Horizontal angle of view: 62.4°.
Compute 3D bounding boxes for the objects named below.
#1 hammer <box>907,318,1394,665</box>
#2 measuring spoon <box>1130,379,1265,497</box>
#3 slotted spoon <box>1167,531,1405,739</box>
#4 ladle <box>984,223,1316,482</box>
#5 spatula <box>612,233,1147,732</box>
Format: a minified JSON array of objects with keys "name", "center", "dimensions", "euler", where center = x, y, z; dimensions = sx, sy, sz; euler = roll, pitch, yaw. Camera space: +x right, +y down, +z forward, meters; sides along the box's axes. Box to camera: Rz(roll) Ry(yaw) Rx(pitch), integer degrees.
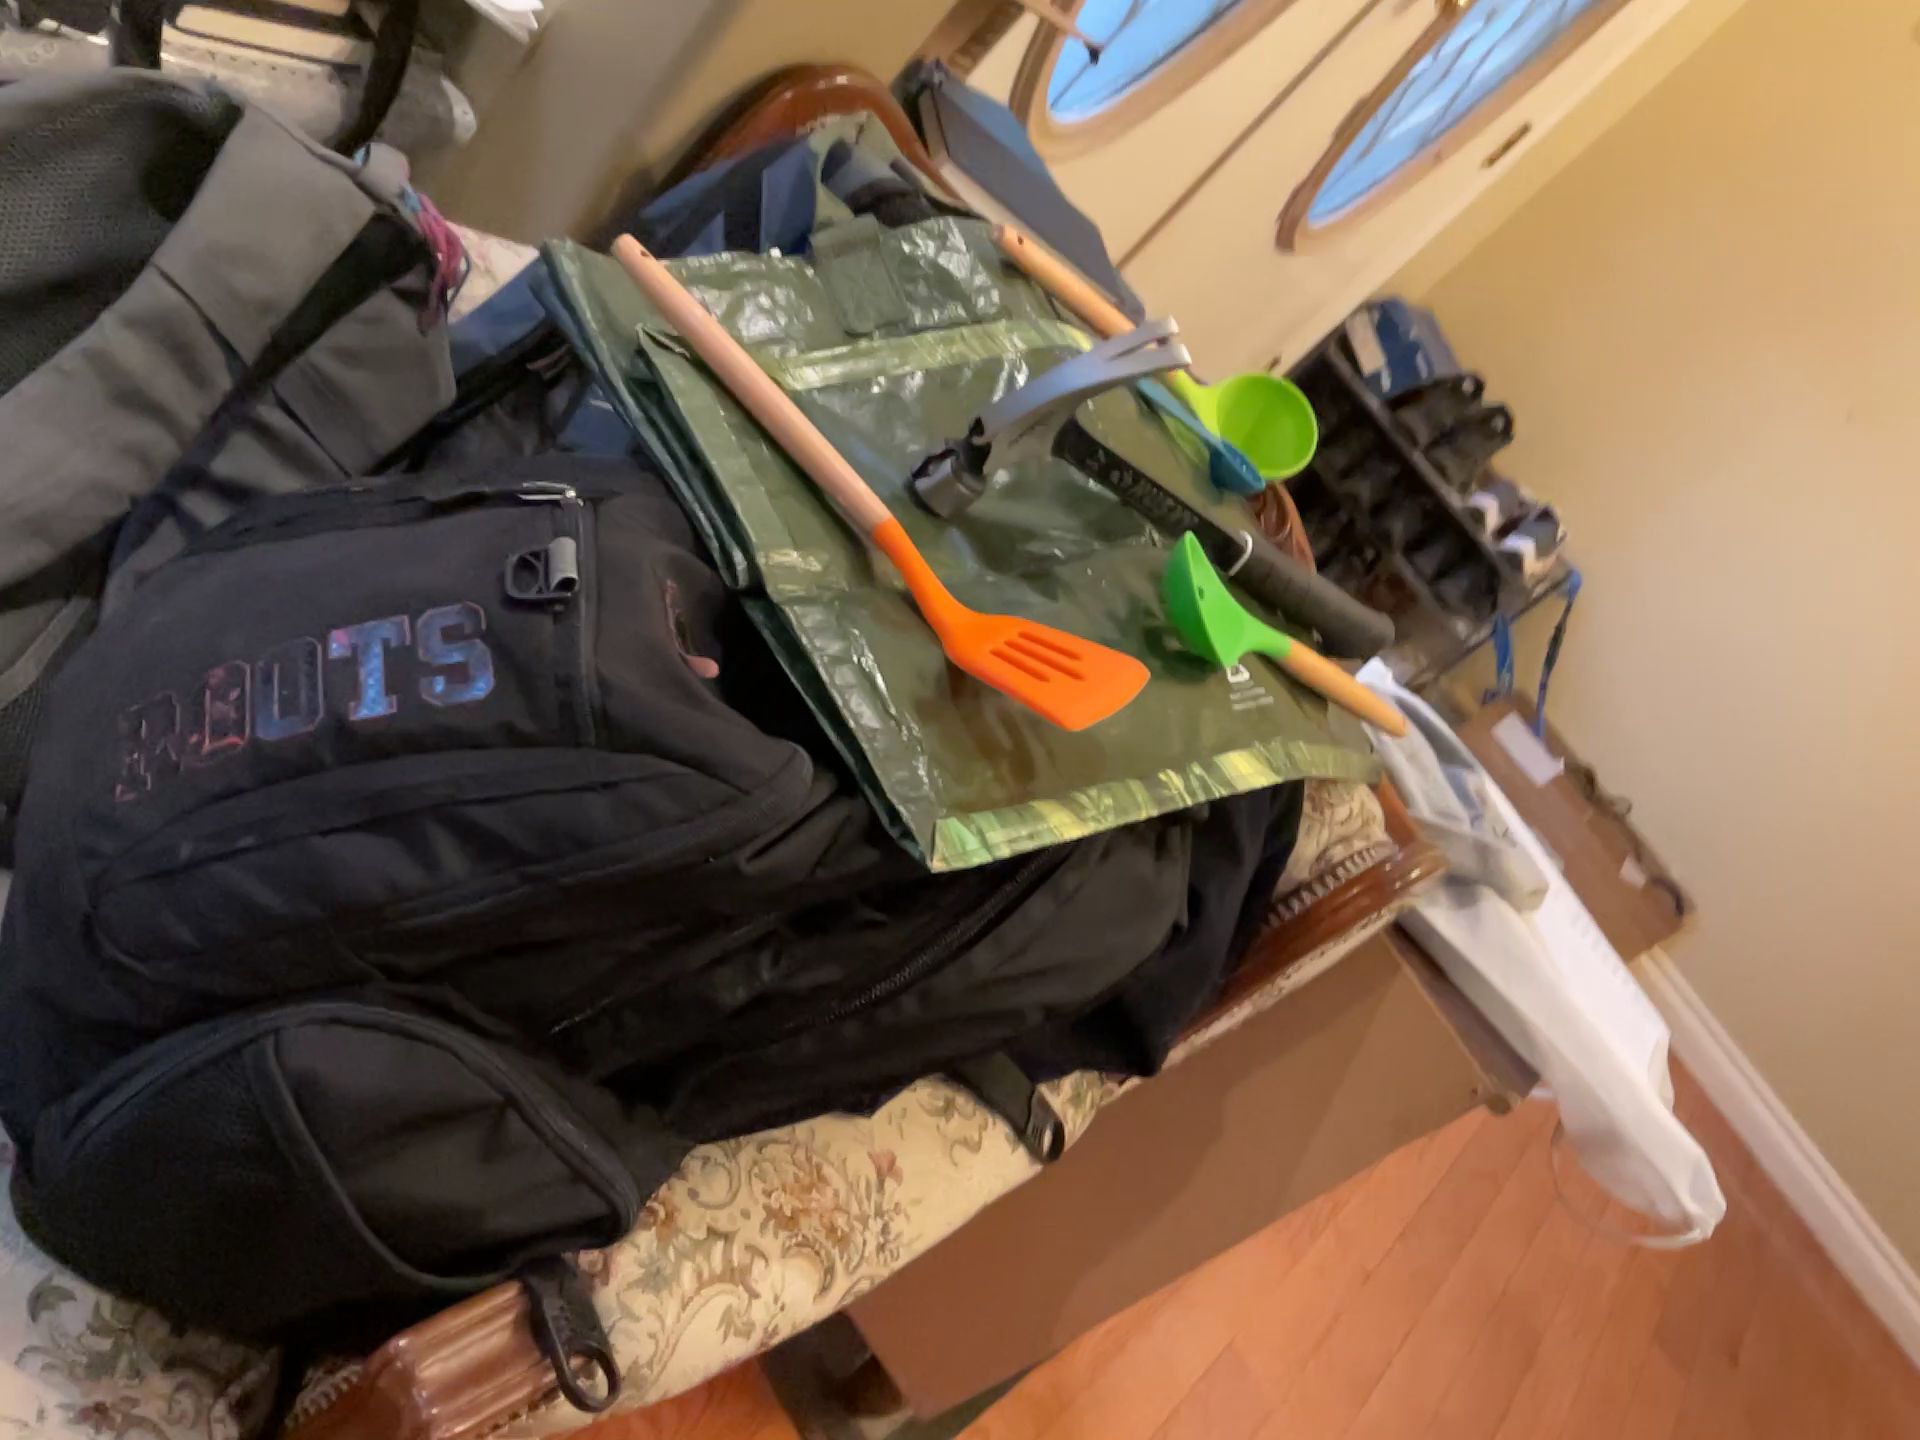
[{"name":"hammer","center":[0.152,-0.104,0.908],"dimensions":[0.408,0.149,0.036],"euler":[22,46,-49]},{"name":"measuring spoon","center":[0.138,-0.175,0.977],"dimensions":[0.128,0.021,0.042],"euler":[31,31,-29]},{"name":"slotted spoon","center":[0.192,-0.031,0.901],"dimensions":[0.313,0.031,0.070],"euler":[24,51,-51]},{"name":"ladle","center":[0.126,-0.230,0.988],"dimensions":[0.319,0.062,0.078],"euler":[23,62,-48]},{"name":"spatula","center":[-0.048,-0.112,0.720],"dimensions":[0.323,0.041,0.081],"euler":[48,37,8]}]
